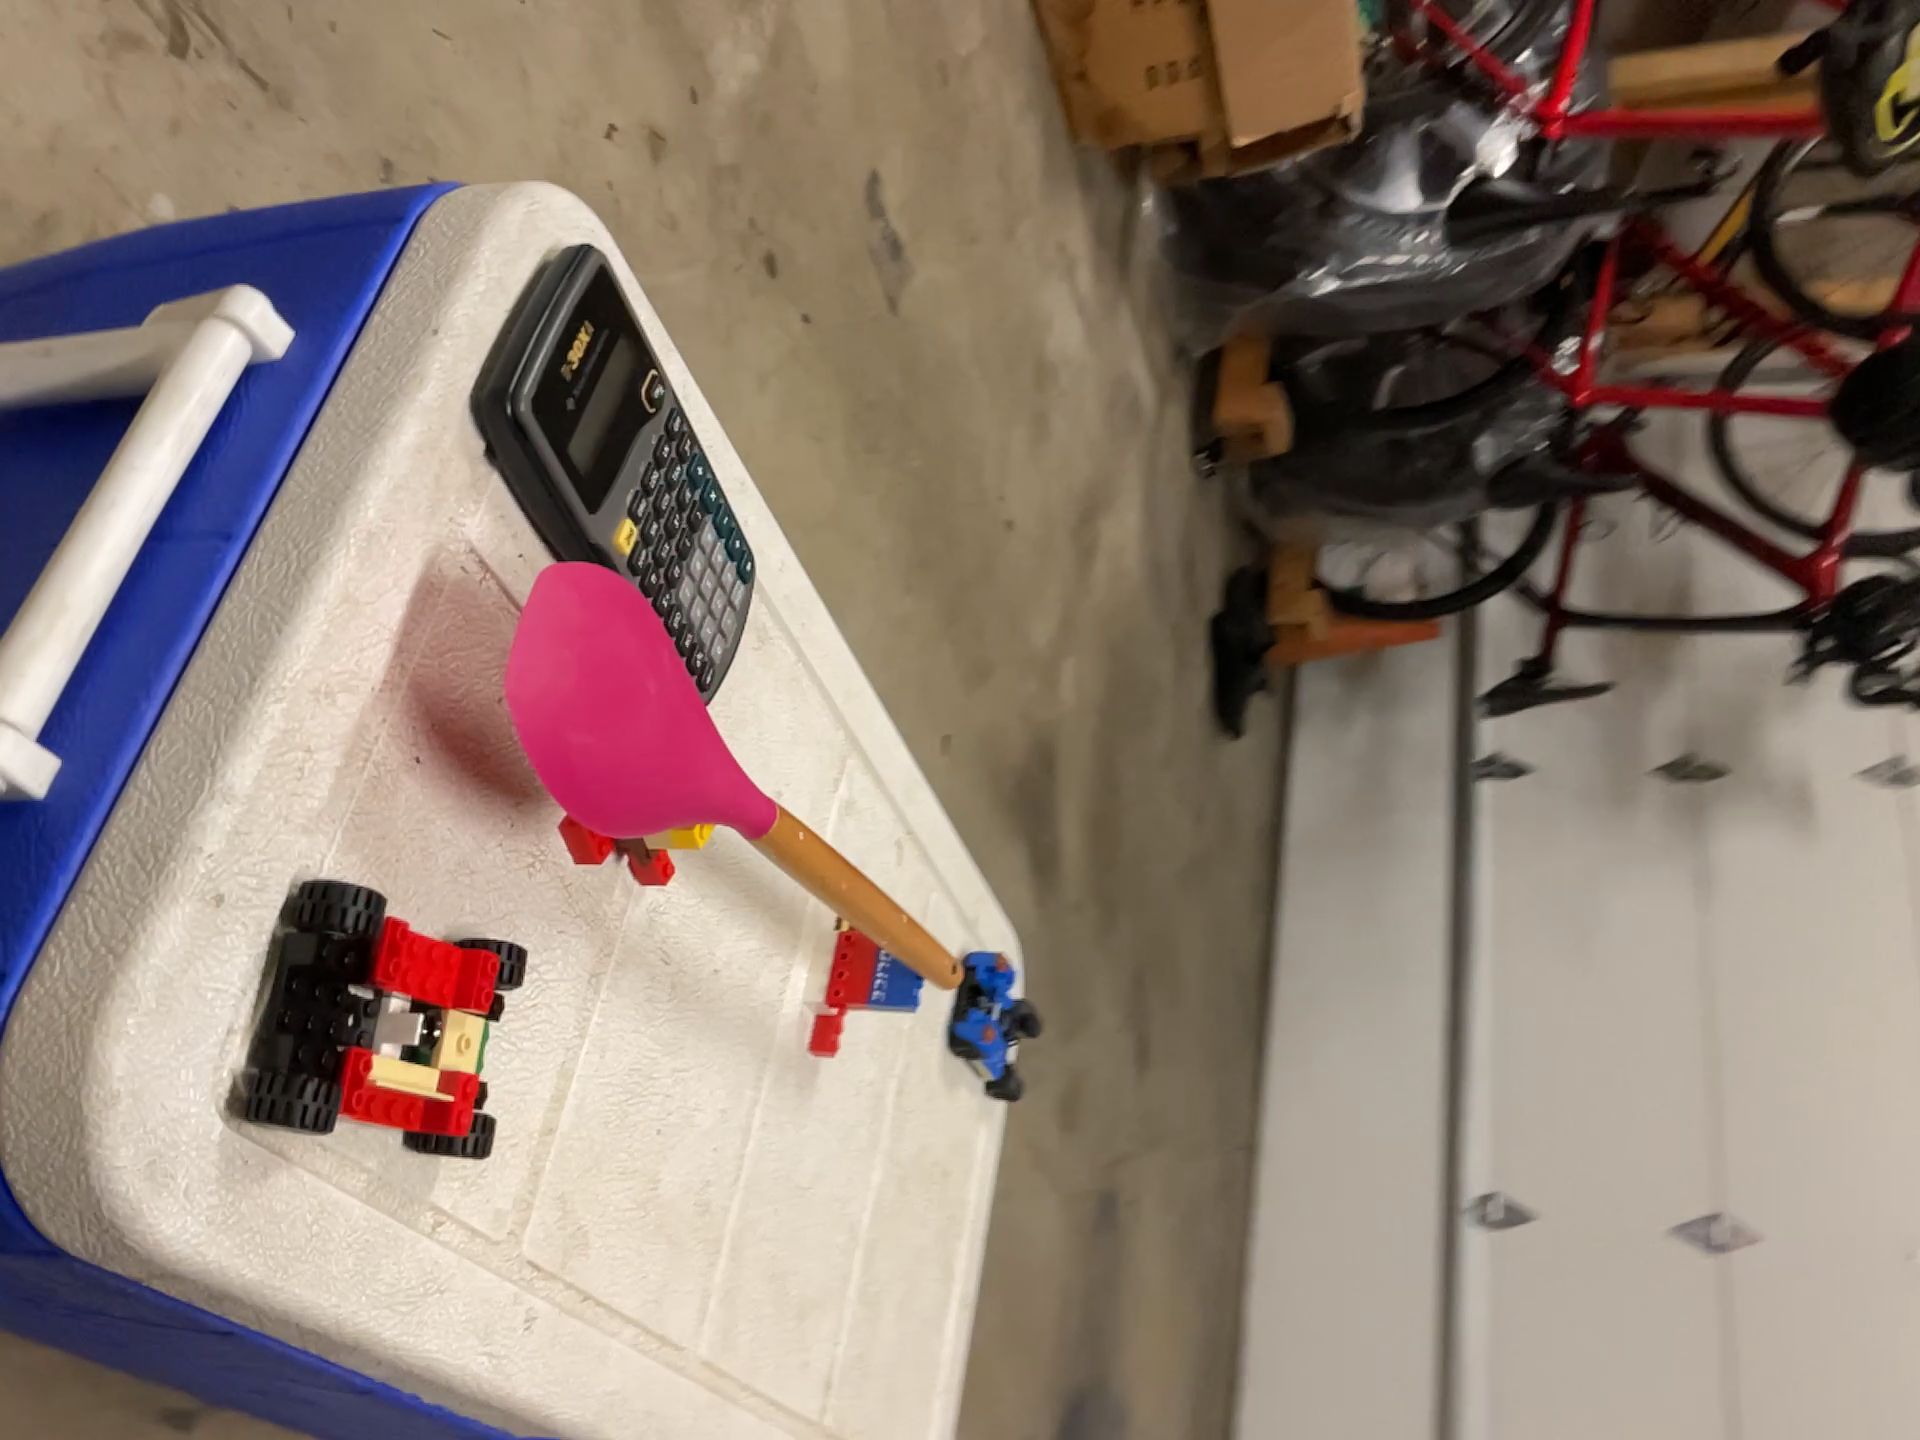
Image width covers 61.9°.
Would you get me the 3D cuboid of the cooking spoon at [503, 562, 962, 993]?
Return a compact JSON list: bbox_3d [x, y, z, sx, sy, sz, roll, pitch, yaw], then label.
[{"bbox_3d":[-0.057,0.042,0.538,0.318,0.017,0.069,52,46,-58],"label":"cooking spoon"}]
